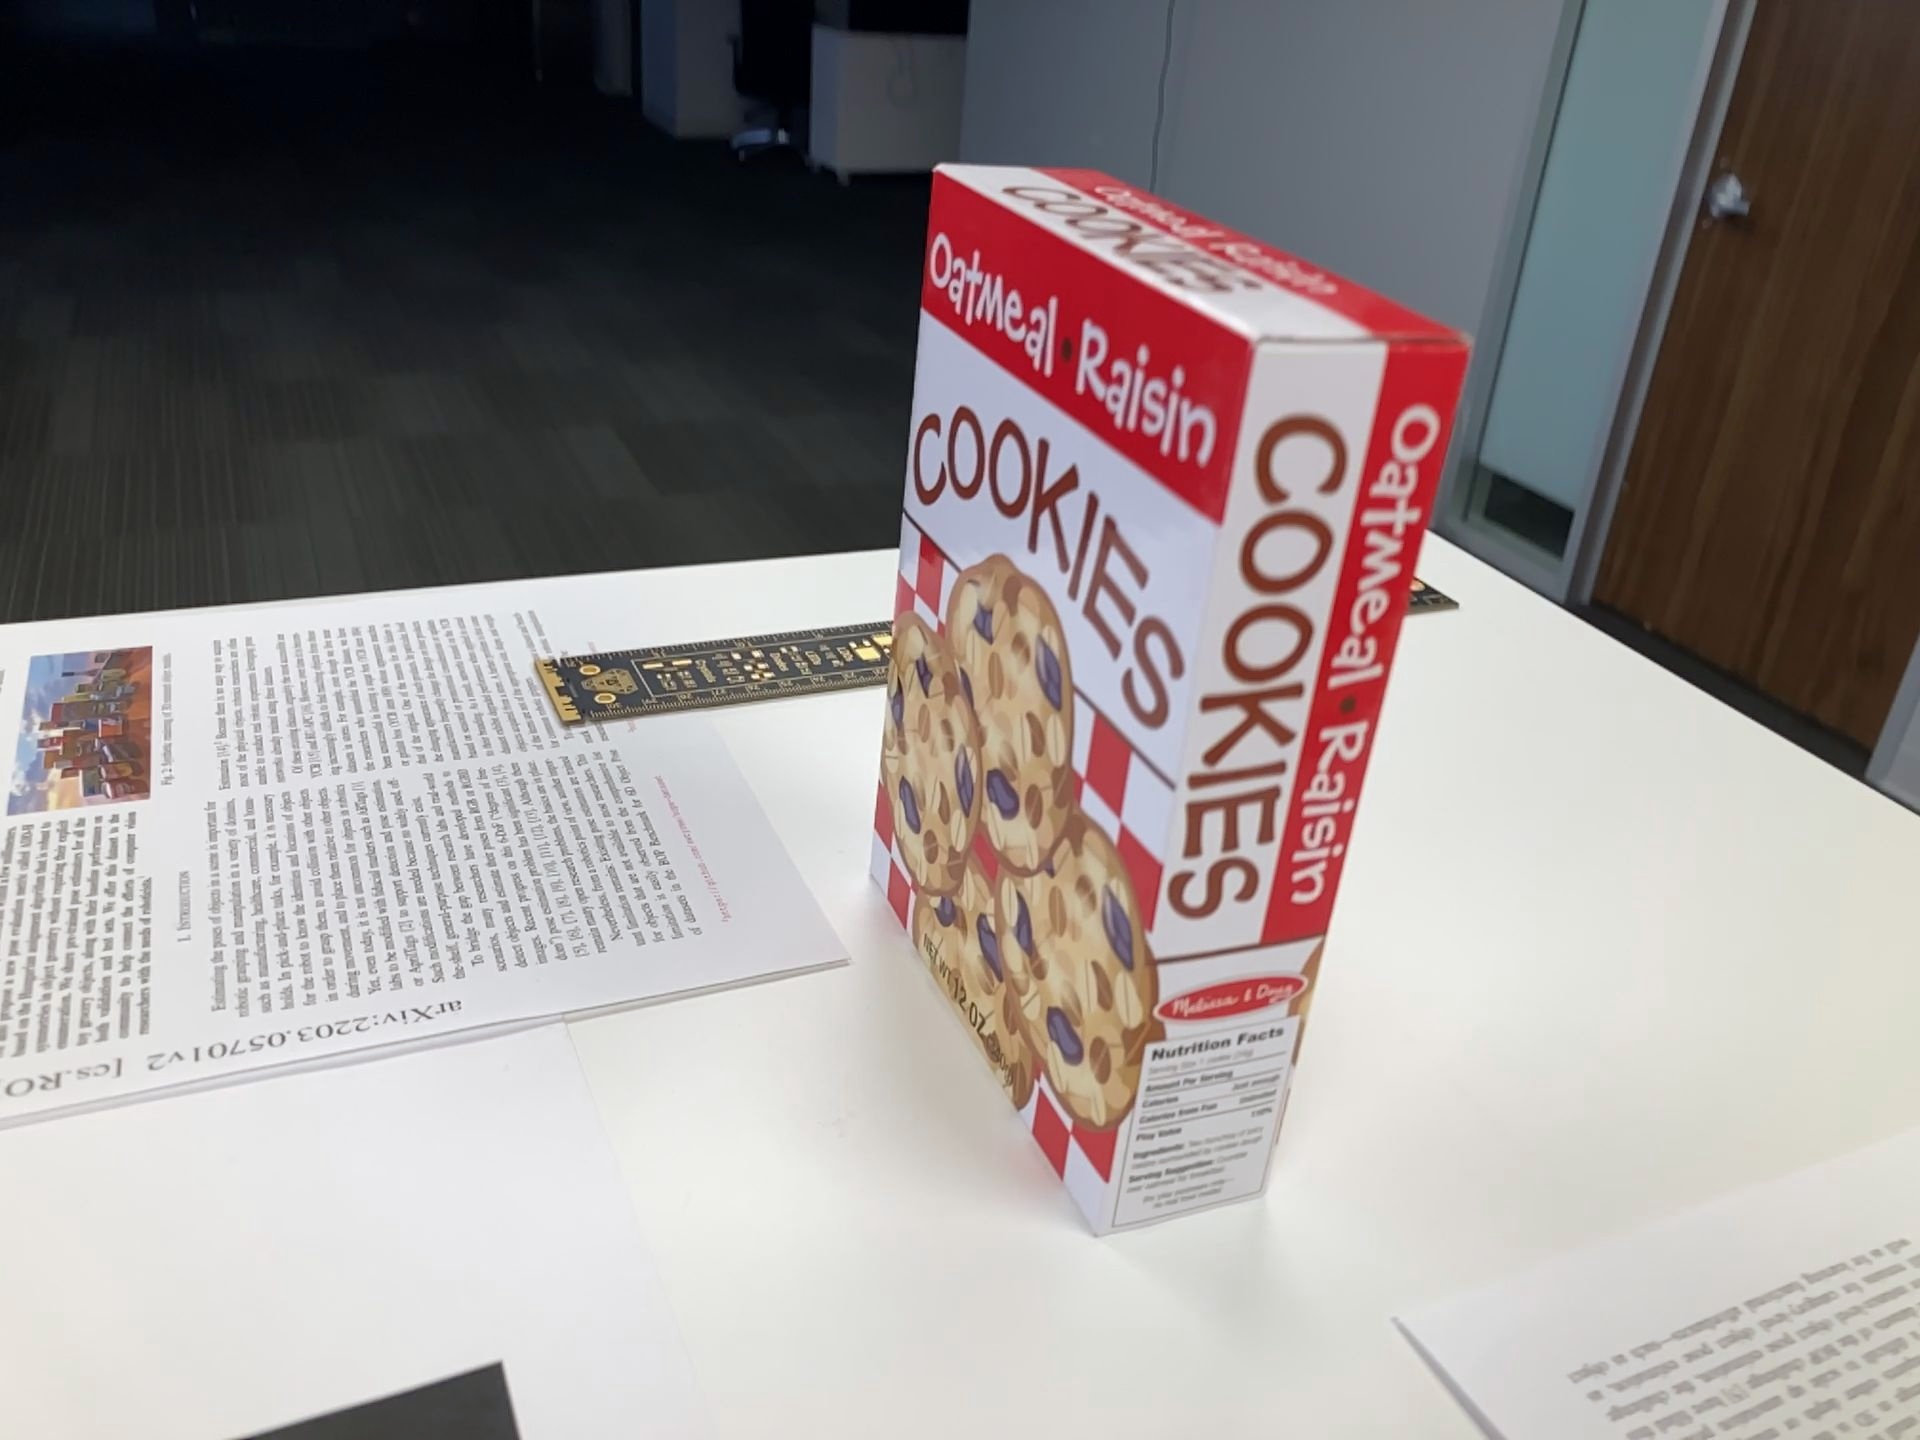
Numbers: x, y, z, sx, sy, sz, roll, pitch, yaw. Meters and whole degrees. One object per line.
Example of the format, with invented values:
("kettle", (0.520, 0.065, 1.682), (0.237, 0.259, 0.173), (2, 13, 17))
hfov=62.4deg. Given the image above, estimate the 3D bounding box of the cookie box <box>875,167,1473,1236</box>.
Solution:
("cookie box", (0.027, -0.009, 0.304), (0.040, 0.167, 0.123), (-6, 30, -22))
